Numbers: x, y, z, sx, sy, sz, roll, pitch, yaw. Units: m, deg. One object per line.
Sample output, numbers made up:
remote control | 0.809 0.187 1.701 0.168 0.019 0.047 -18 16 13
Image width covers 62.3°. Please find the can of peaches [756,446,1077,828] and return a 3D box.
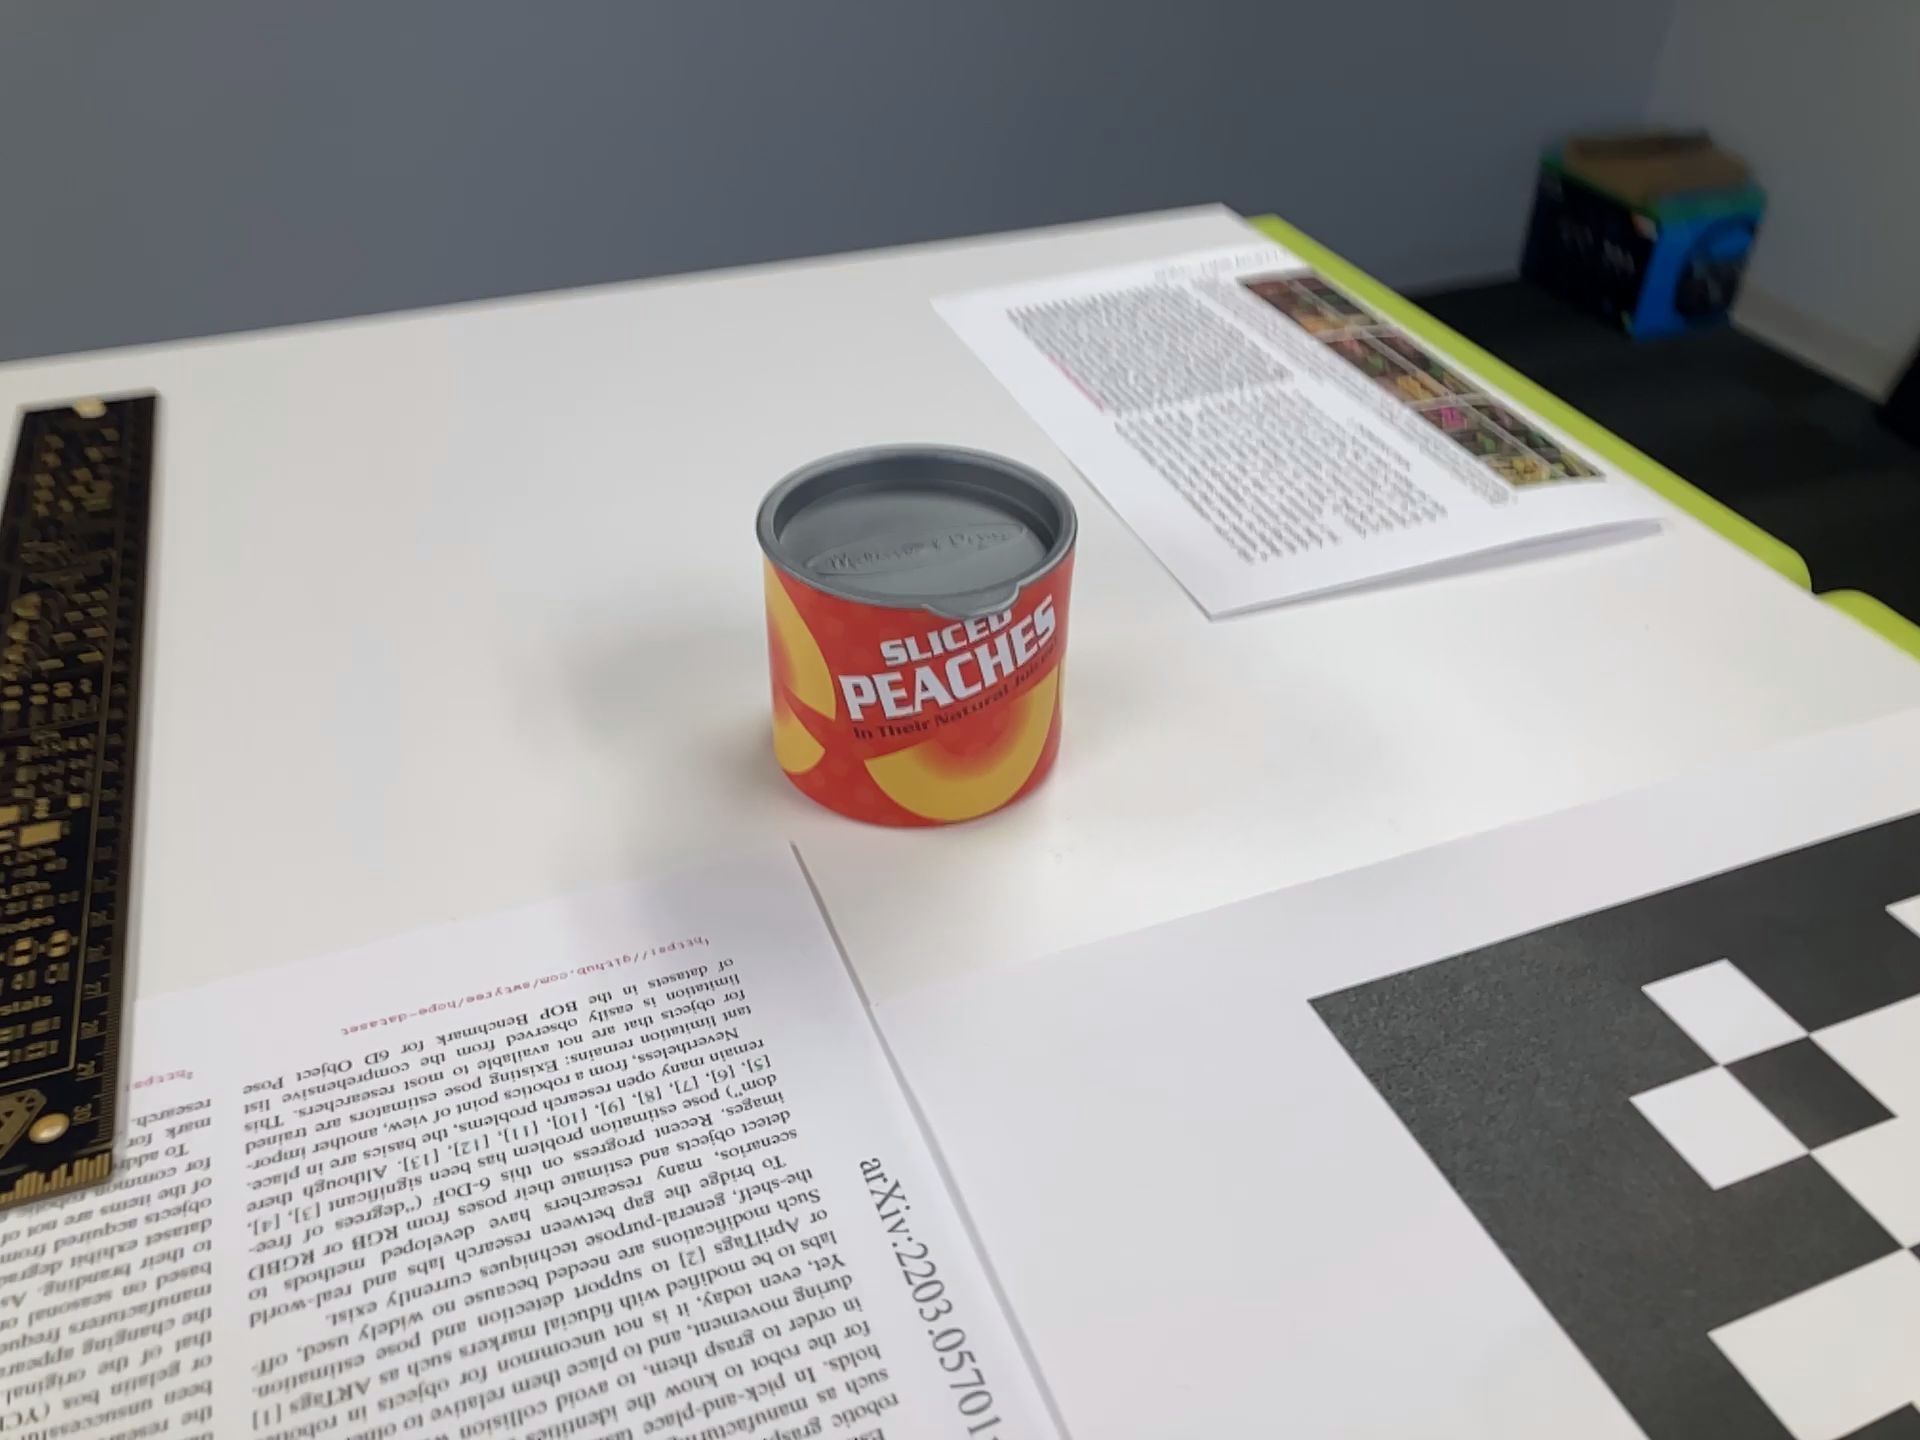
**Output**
can of peaches | -0.009 -0.017 0.342 0.071 0.058 0.071 1 37 -1
